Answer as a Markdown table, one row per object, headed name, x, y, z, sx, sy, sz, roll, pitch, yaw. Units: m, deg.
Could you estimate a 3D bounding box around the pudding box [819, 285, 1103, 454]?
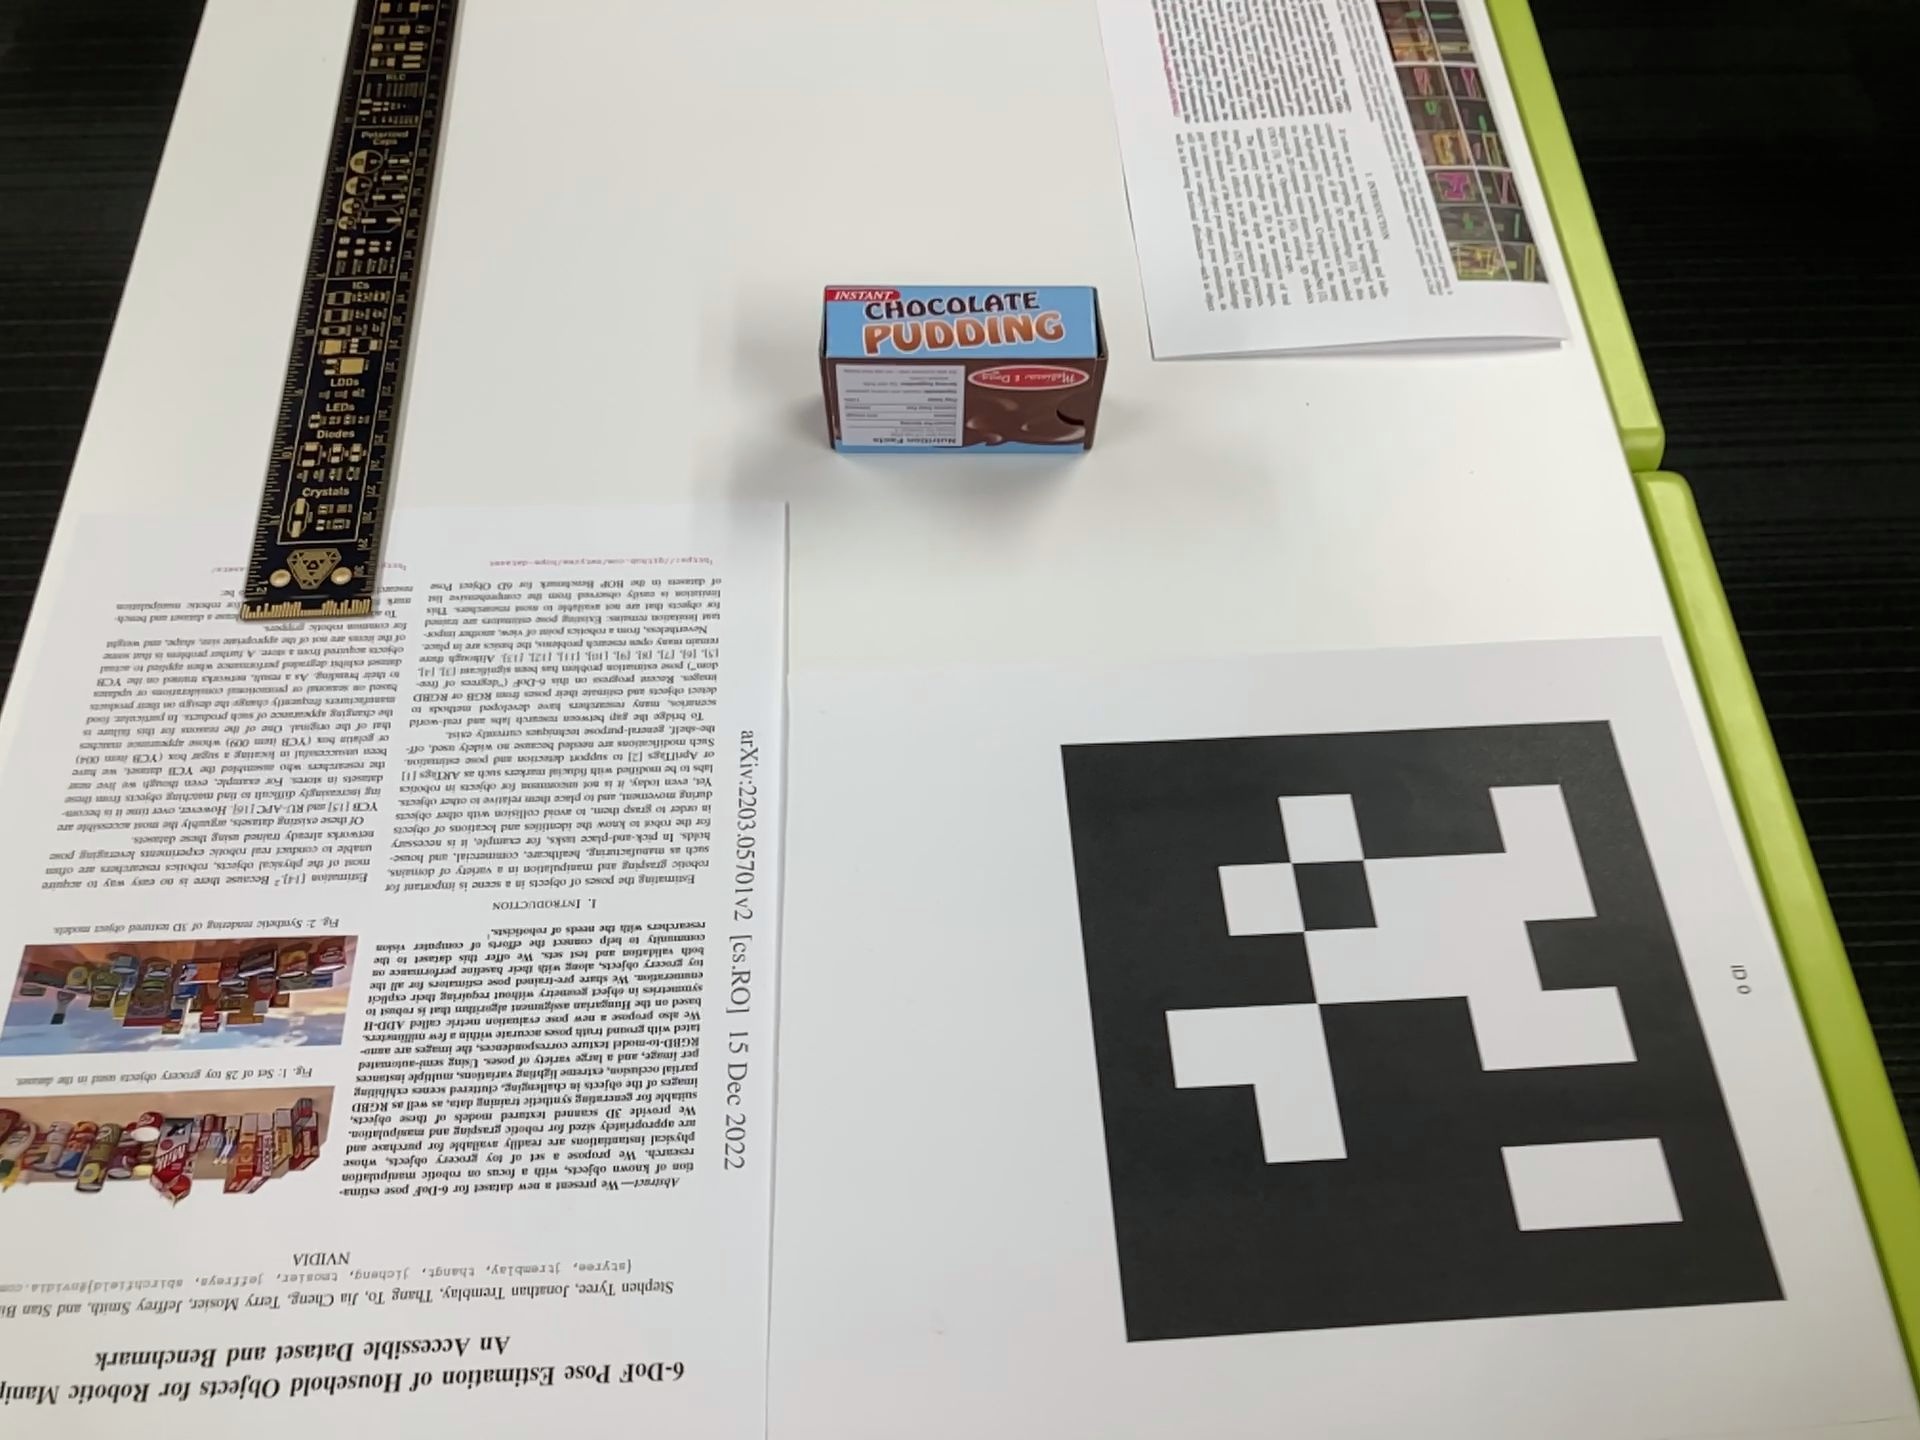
| name | x | y | z | sx | sy | sz | roll | pitch | yaw |
| --- | --- | --- | --- | --- | --- | --- | --- | --- | --- |
| pudding box | 0.000 | -0.108 | 0.493 | 0.083 | 0.049 | 0.030 | -1 | 63 | -1 |
